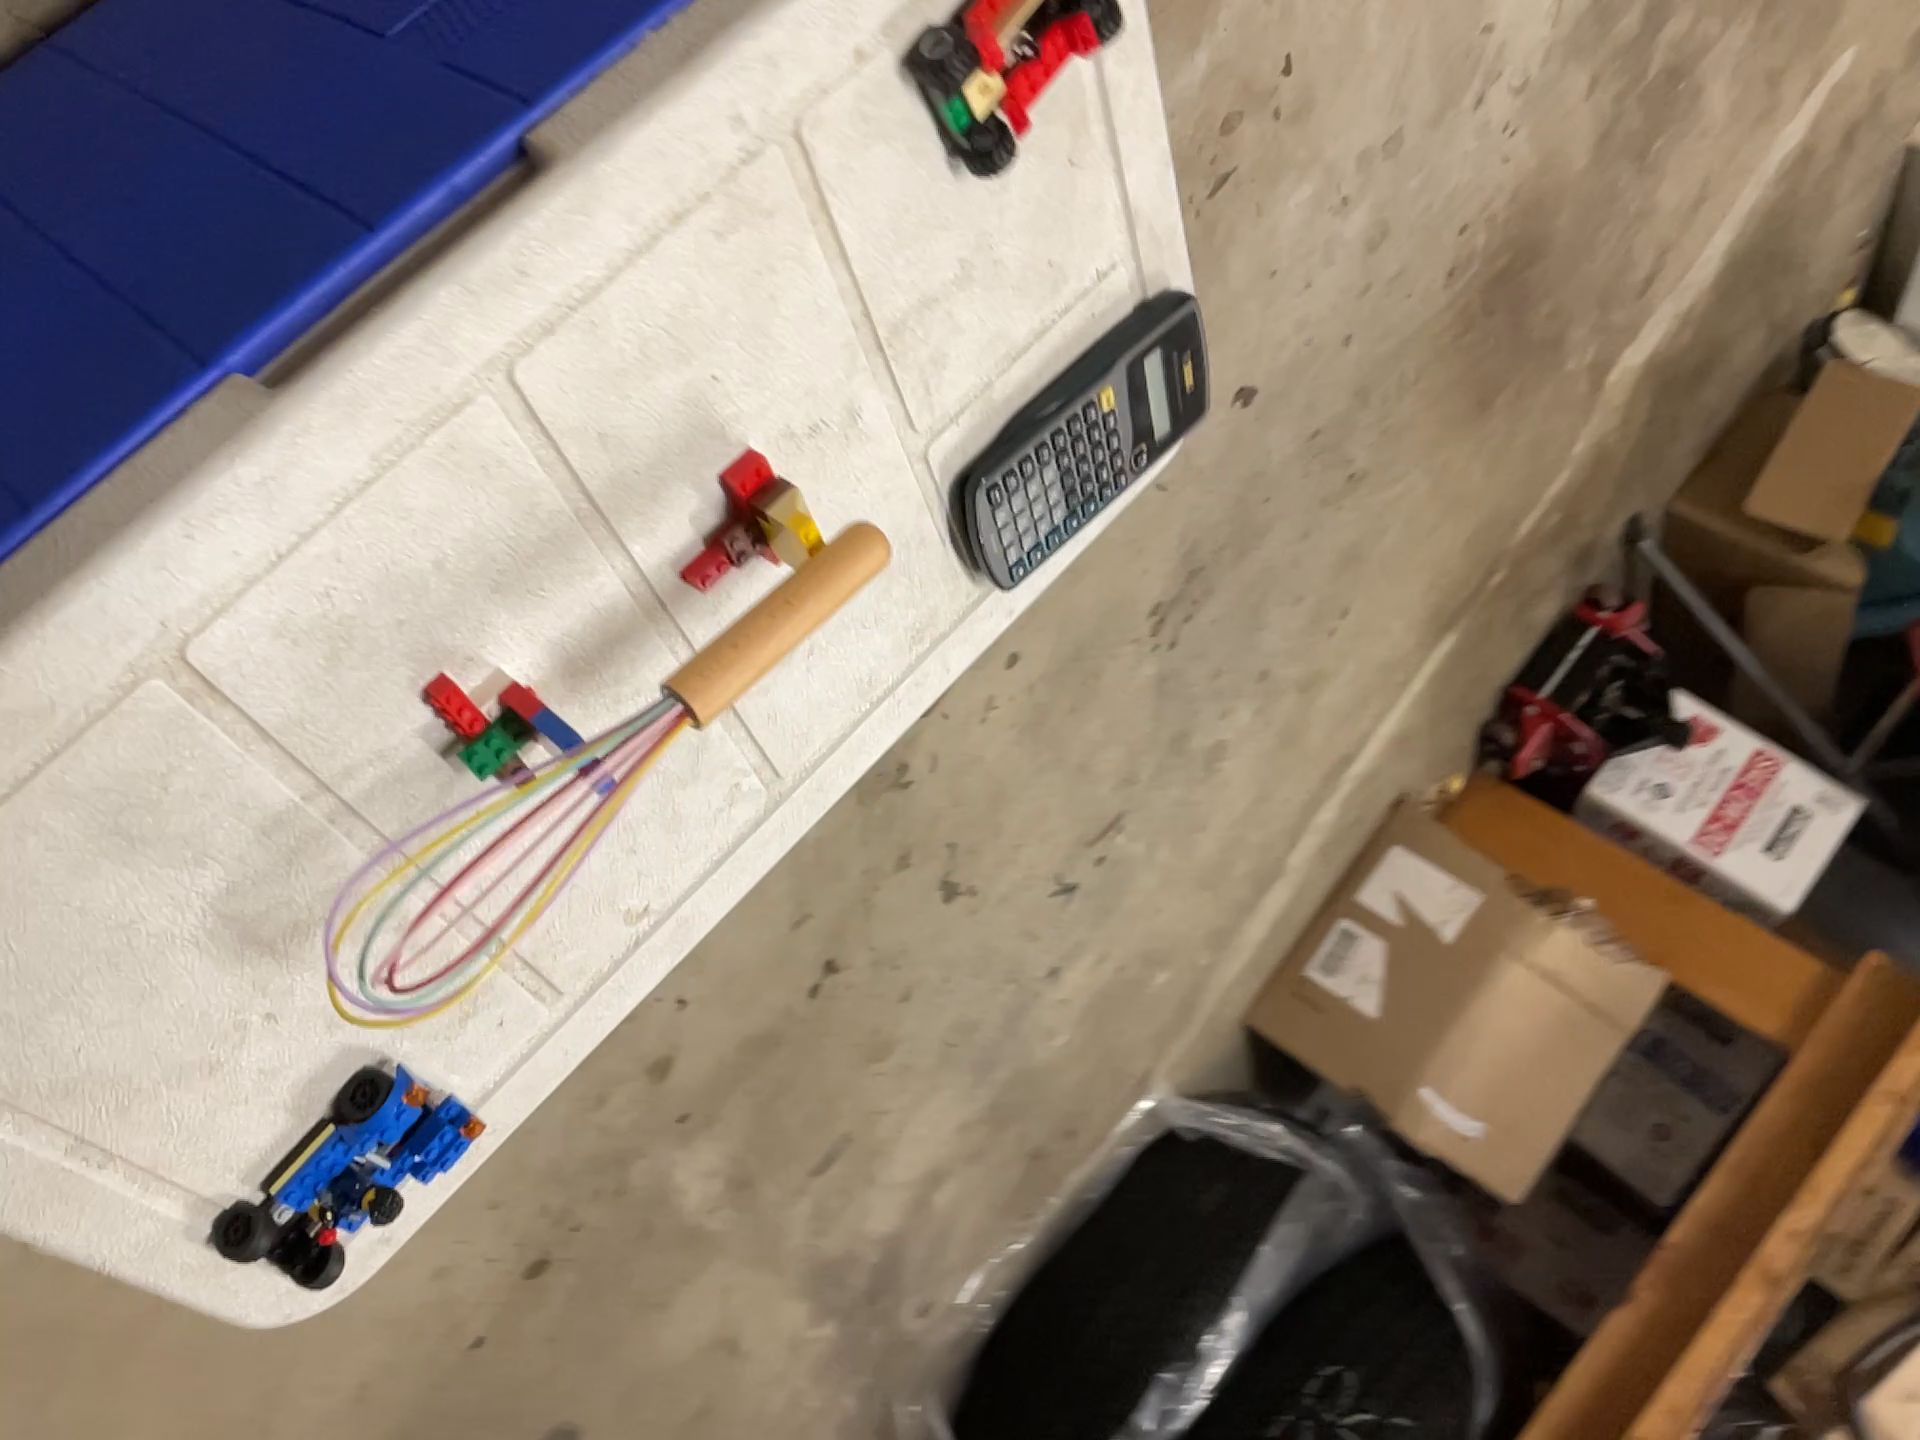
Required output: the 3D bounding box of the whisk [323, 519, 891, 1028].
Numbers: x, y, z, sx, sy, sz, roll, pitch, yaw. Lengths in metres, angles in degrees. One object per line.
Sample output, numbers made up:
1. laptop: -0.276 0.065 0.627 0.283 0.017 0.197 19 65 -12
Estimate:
1. whisk: -0.109 0.013 0.541 0.245 0.047 0.051 -44 133 -23
